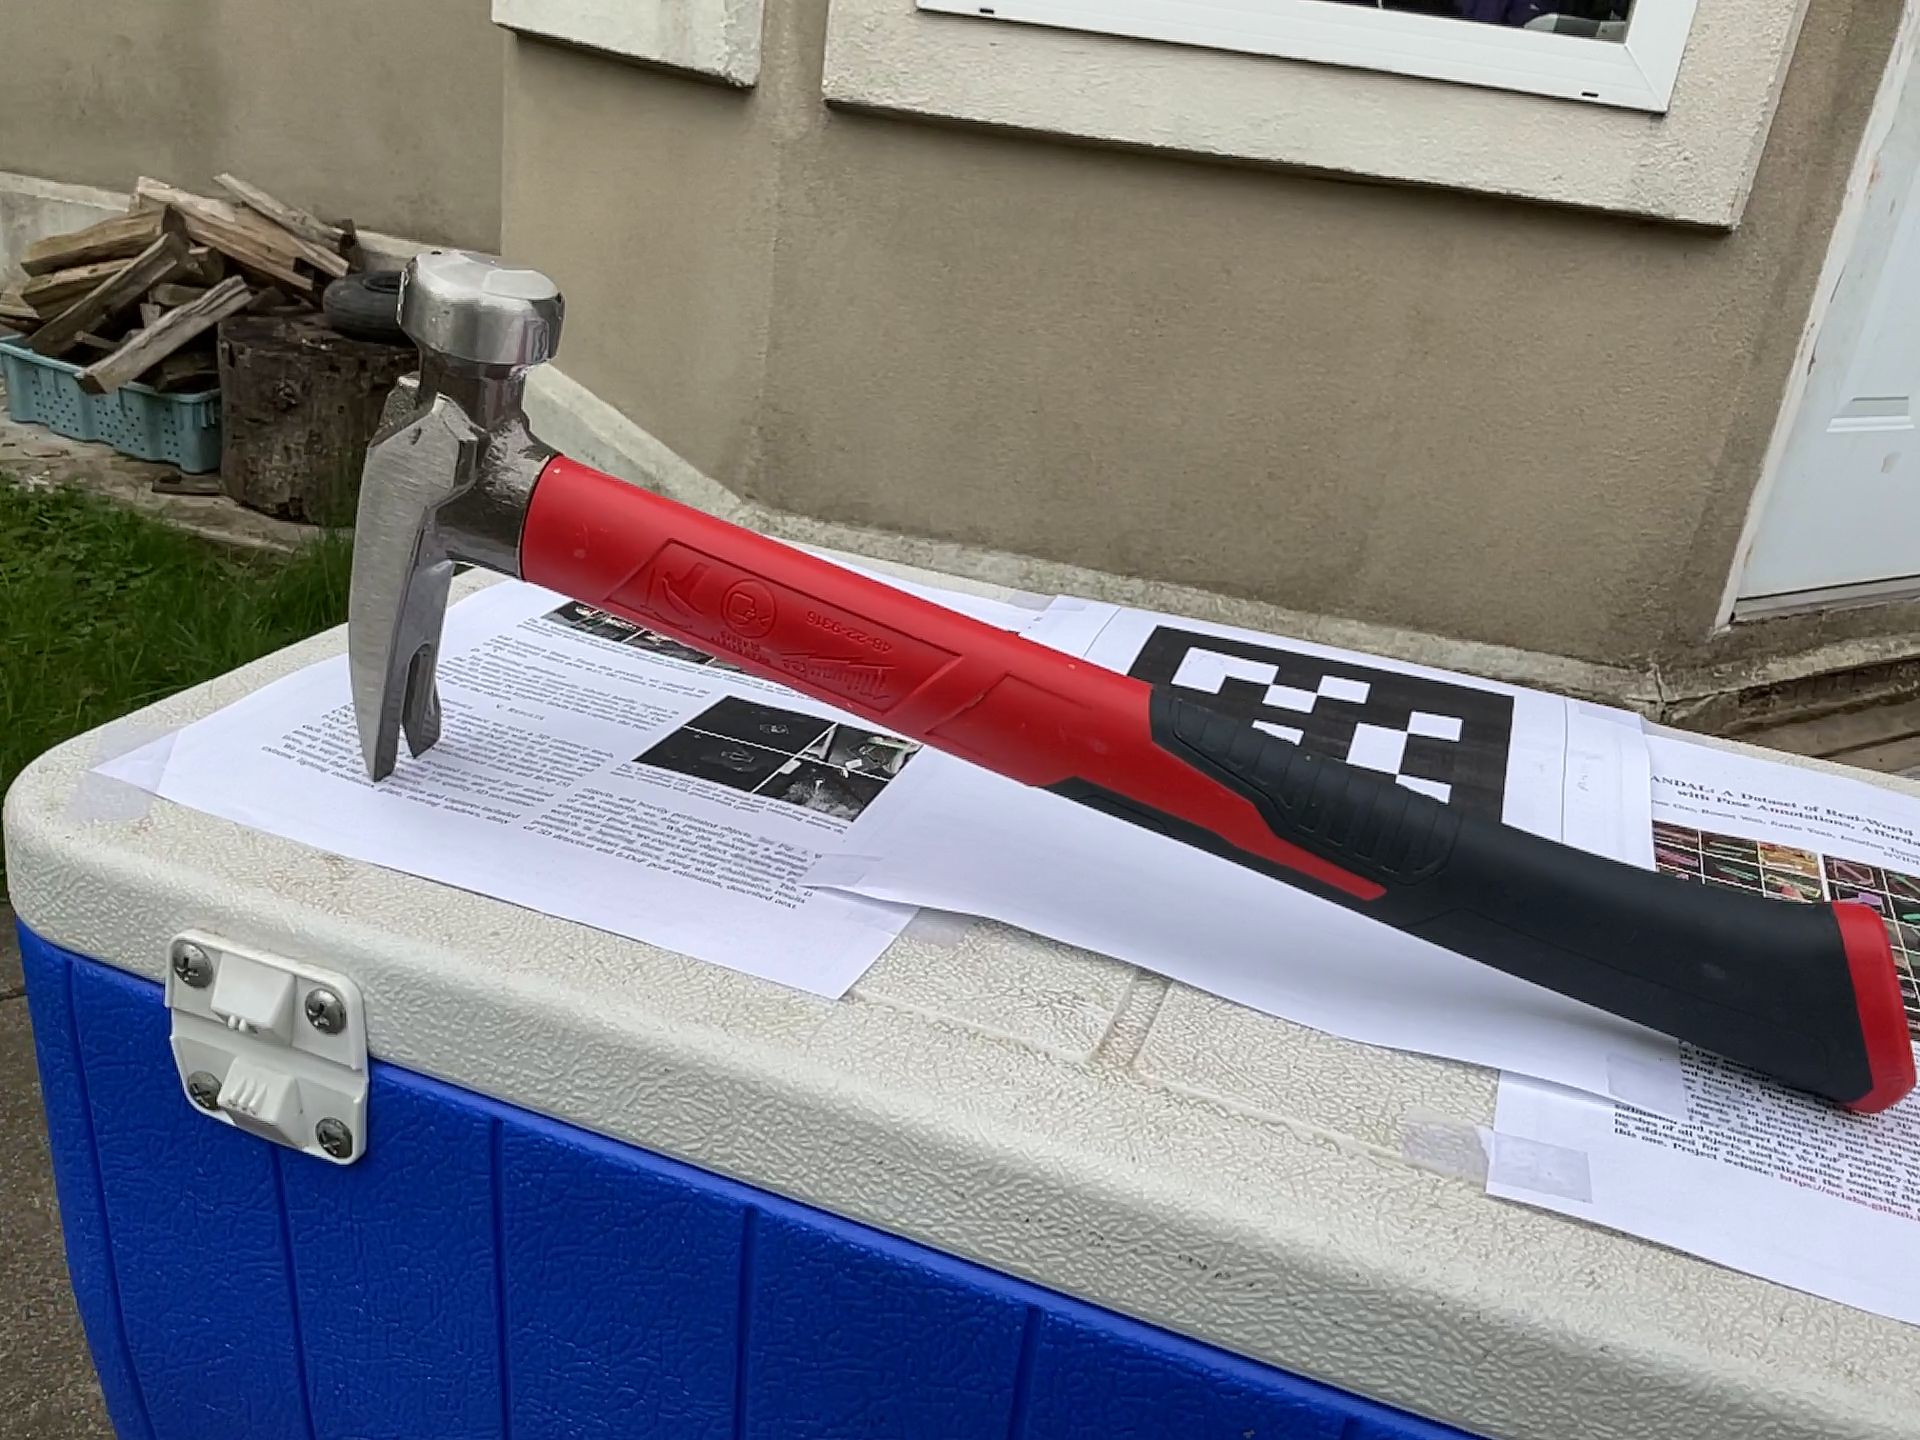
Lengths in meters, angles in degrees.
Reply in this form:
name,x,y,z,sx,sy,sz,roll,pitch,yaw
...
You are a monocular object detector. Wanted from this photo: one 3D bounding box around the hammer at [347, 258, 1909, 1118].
name,x,y,z,sx,sy,sz,roll,pitch,yaw
hammer,0.027,0.019,0.393,0.386,0.143,0.038,22,27,7
